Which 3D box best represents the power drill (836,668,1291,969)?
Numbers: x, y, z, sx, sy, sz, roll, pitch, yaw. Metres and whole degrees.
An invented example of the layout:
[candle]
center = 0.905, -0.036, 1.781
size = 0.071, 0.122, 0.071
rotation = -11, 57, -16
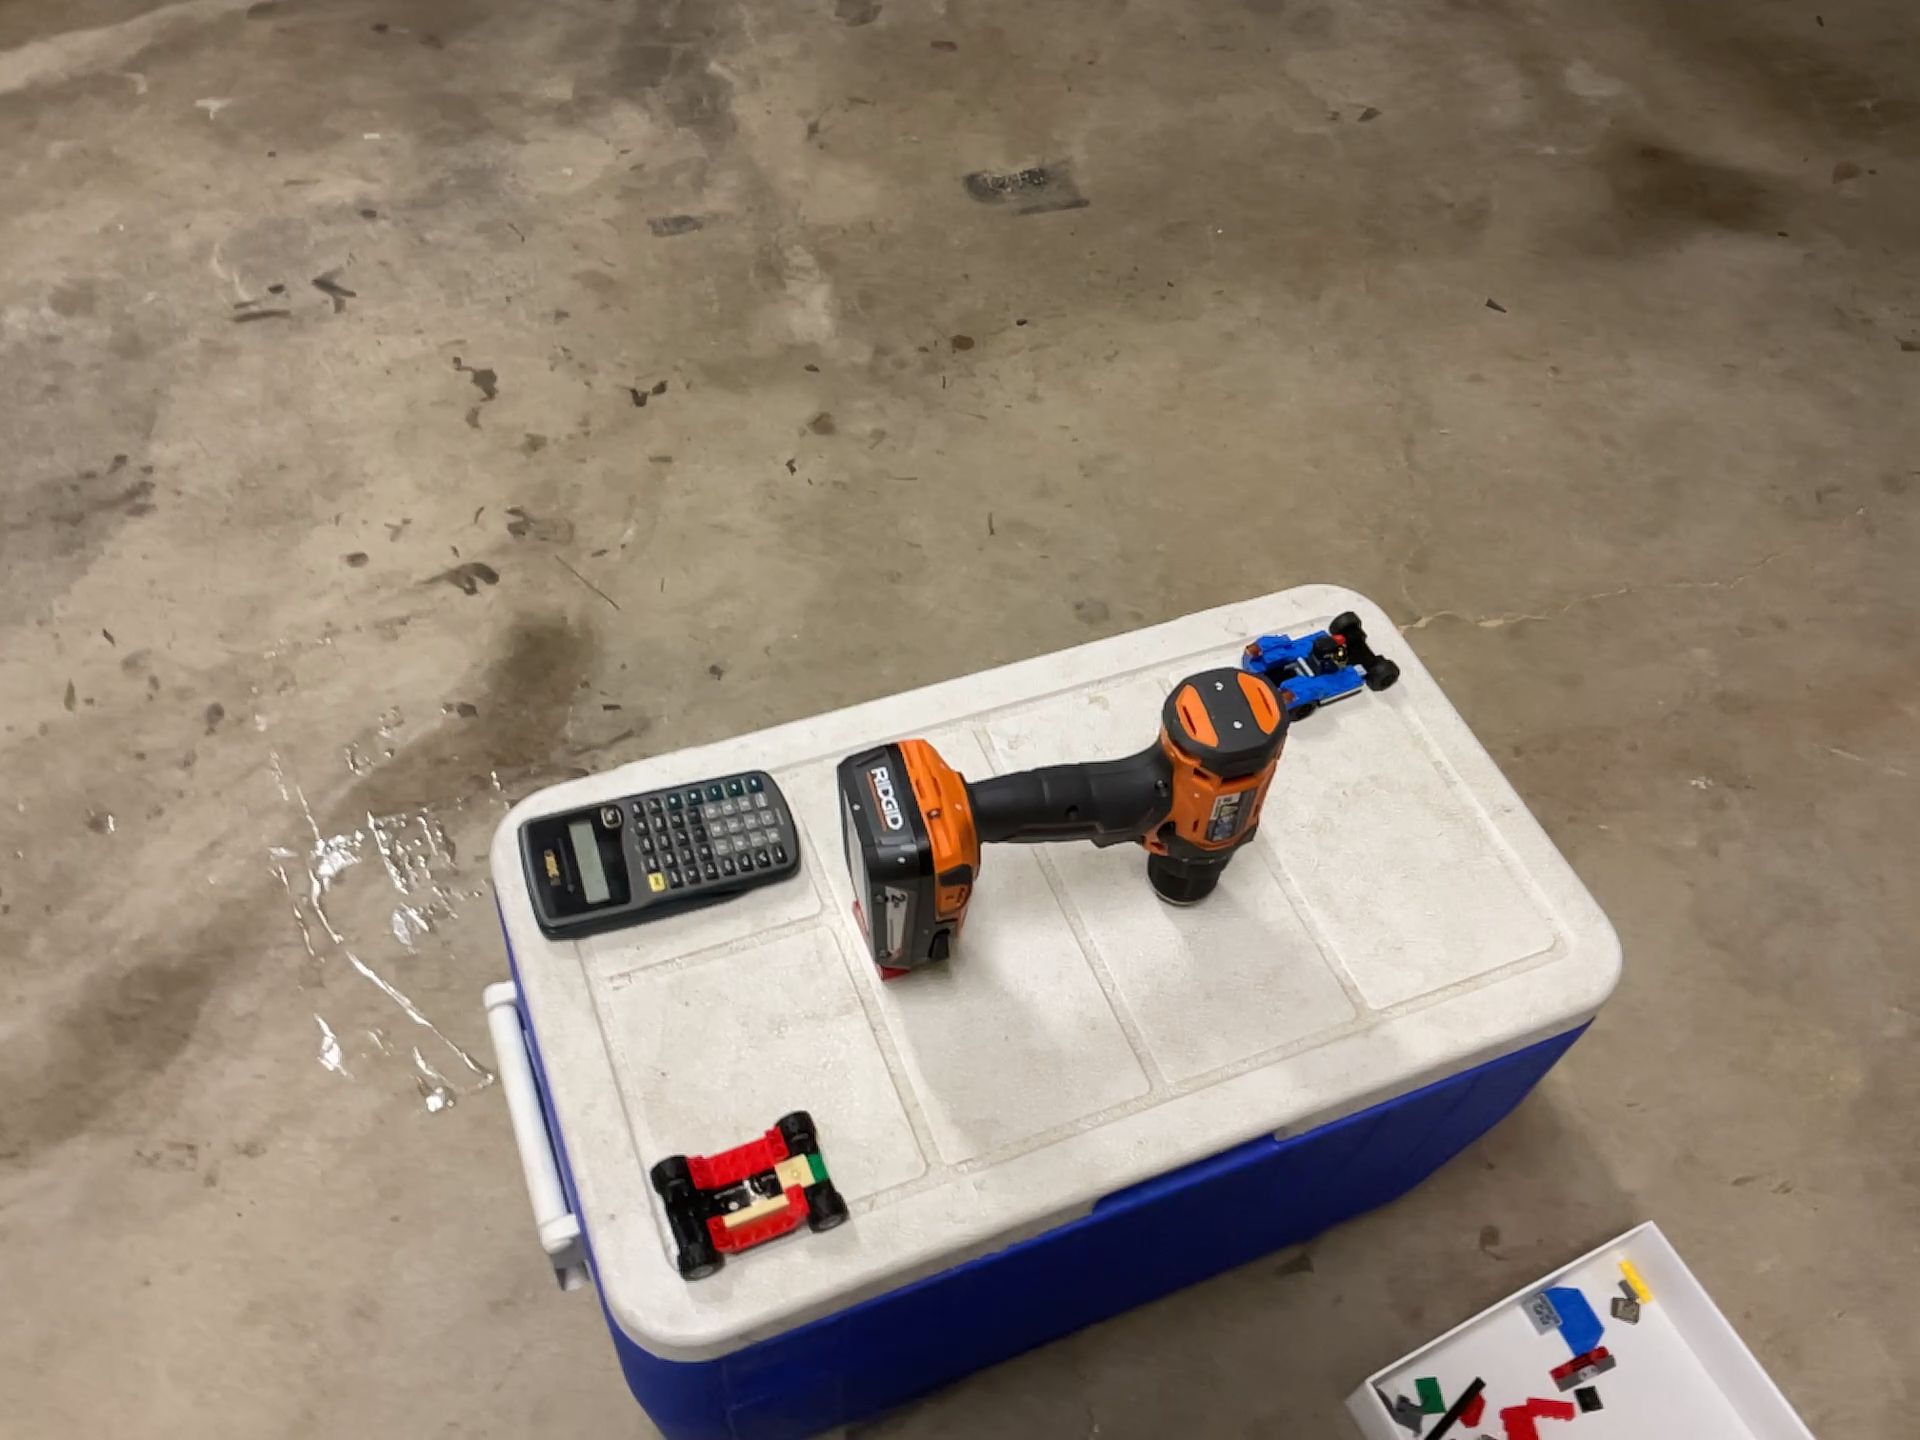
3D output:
[power drill]
center = 0.055, 0.063, 0.850
size = 0.226, 0.185, 0.084
rotation = -13, 57, -10
